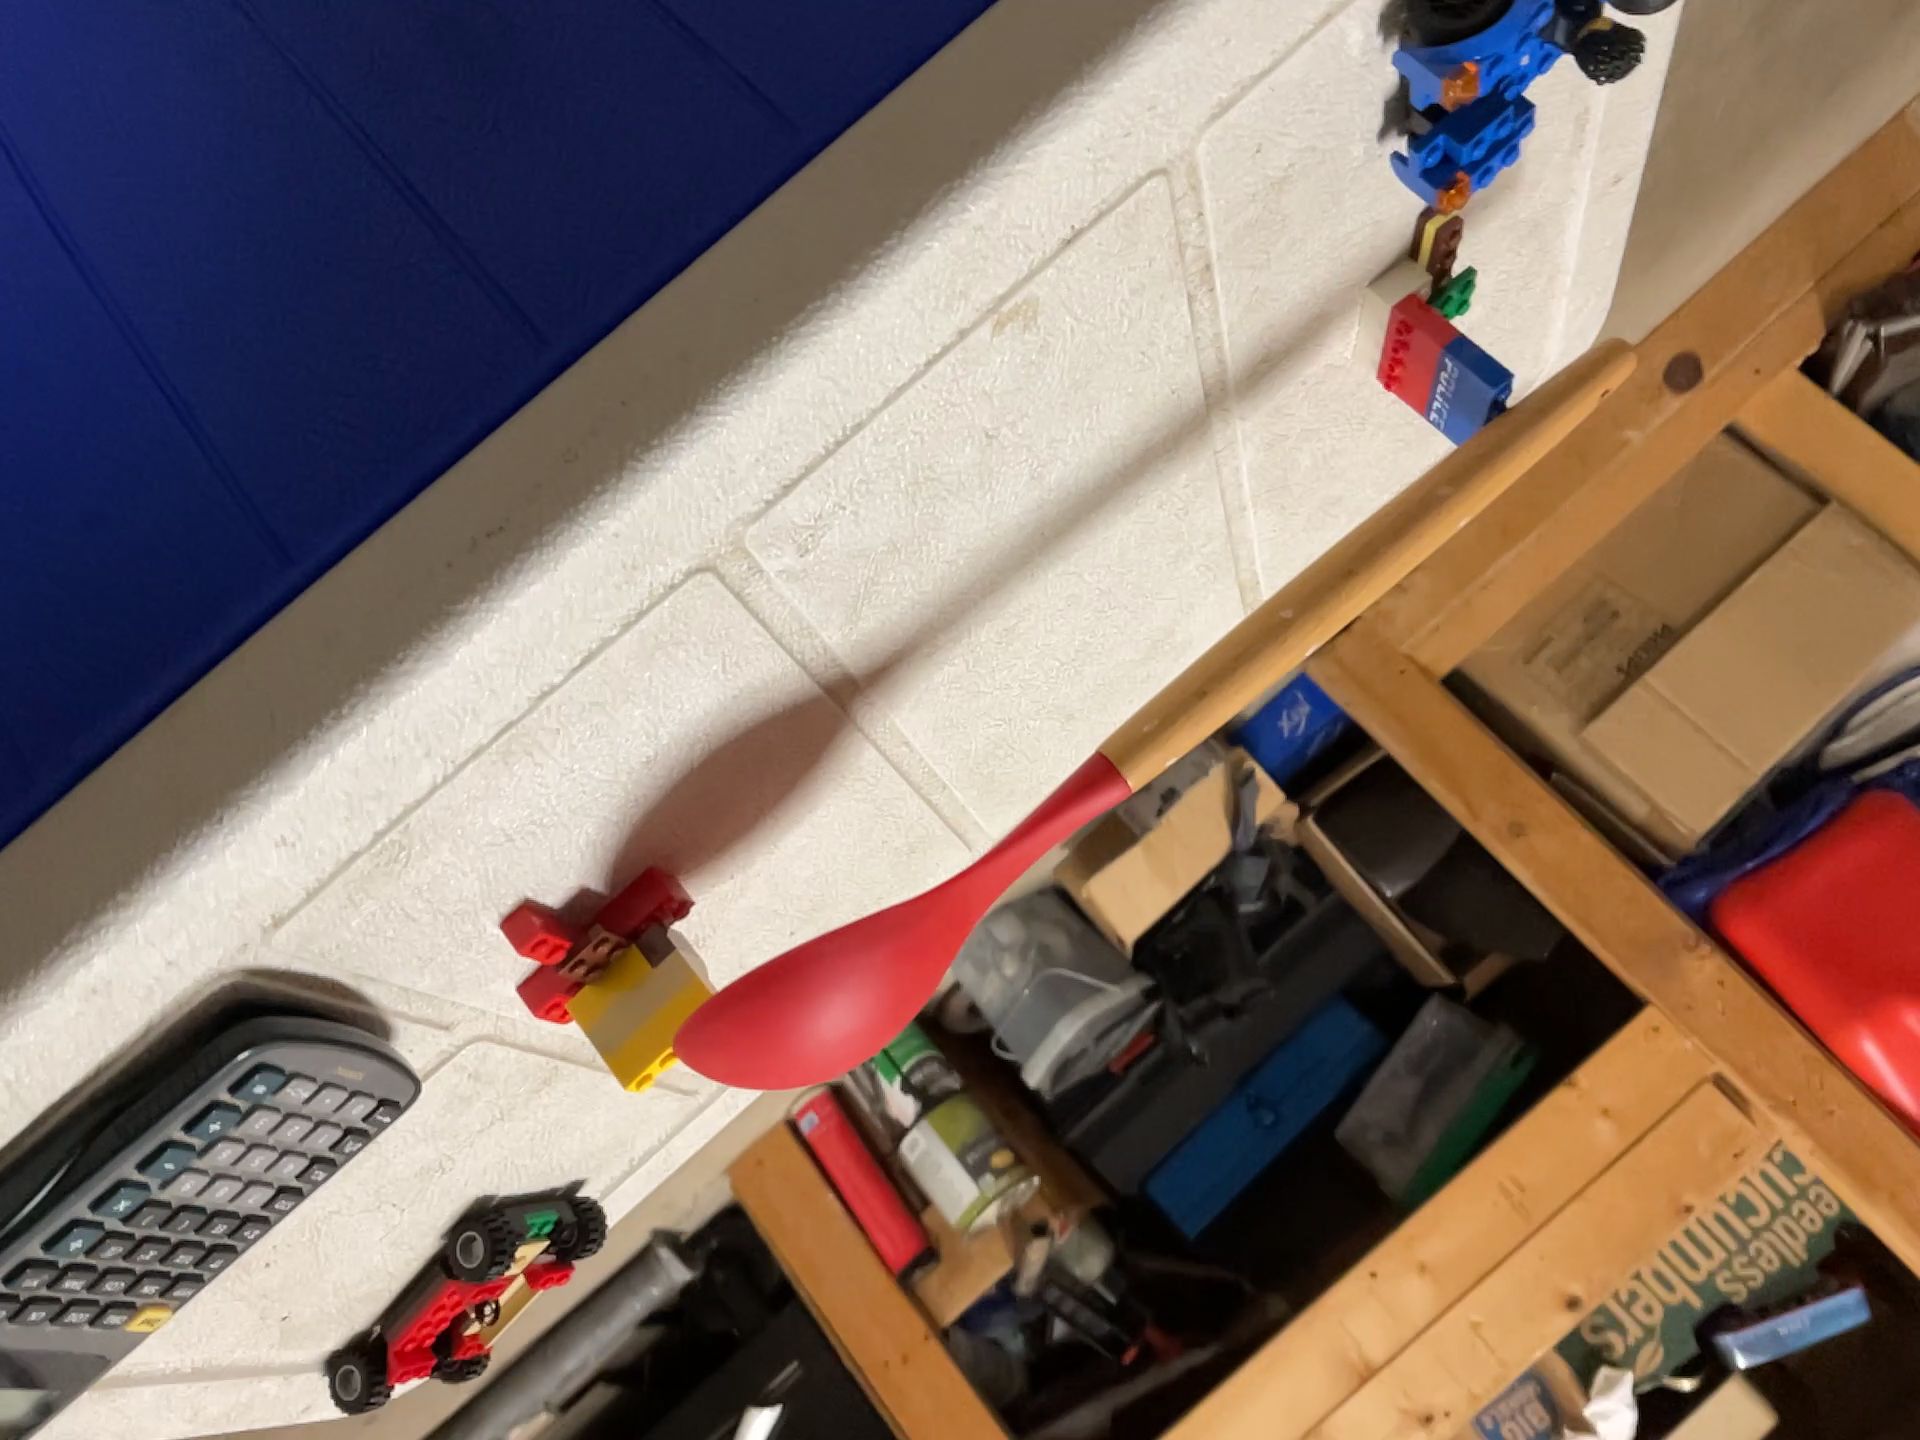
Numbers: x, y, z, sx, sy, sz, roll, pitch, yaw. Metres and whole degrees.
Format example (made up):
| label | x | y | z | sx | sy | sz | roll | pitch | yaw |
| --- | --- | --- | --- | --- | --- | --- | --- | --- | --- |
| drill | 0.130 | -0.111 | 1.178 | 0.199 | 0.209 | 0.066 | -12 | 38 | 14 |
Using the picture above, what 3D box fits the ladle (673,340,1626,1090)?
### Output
| label | x | y | z | sx | sy | sz | roll | pitch | yaw |
| --- | --- | --- | --- | --- | --- | --- | --- | --- | --- |
| ladle | 0.059 | -0.003 | 0.421 | 0.315 | 0.031 | 0.069 | -39 | 156 | -8 |
